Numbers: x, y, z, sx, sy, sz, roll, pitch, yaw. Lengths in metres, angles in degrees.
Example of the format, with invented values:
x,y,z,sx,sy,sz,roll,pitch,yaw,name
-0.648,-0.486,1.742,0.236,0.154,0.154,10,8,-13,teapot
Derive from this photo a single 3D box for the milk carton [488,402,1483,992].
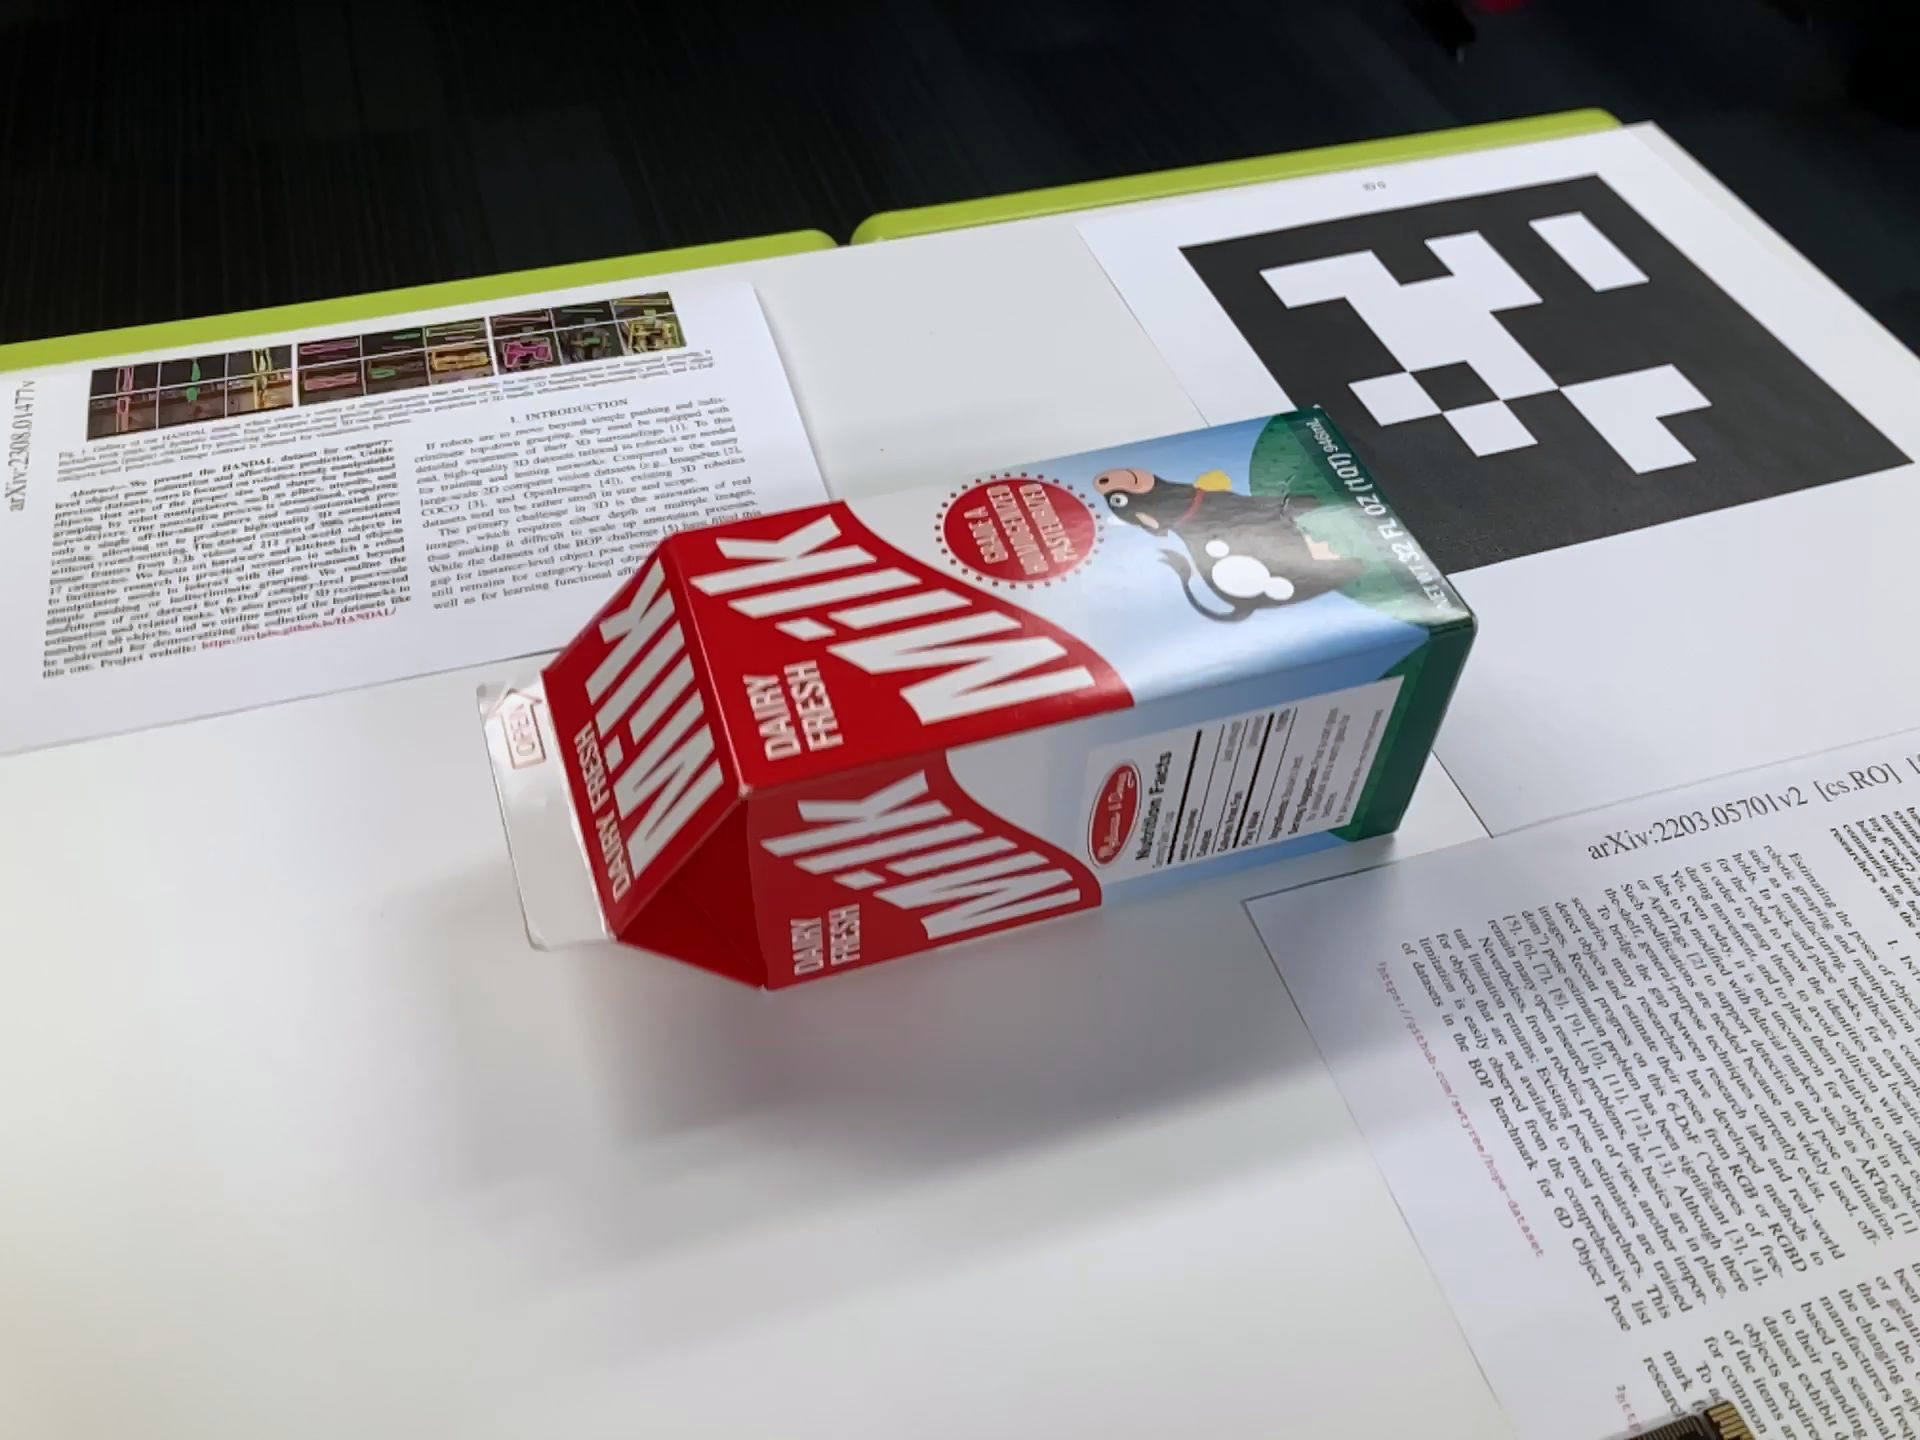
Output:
x,y,z,sx,sy,sz,roll,pitch,yaw,name
0.001,-0.002,0.336,0.190,0.073,0.072,-13,52,-13,milk carton
